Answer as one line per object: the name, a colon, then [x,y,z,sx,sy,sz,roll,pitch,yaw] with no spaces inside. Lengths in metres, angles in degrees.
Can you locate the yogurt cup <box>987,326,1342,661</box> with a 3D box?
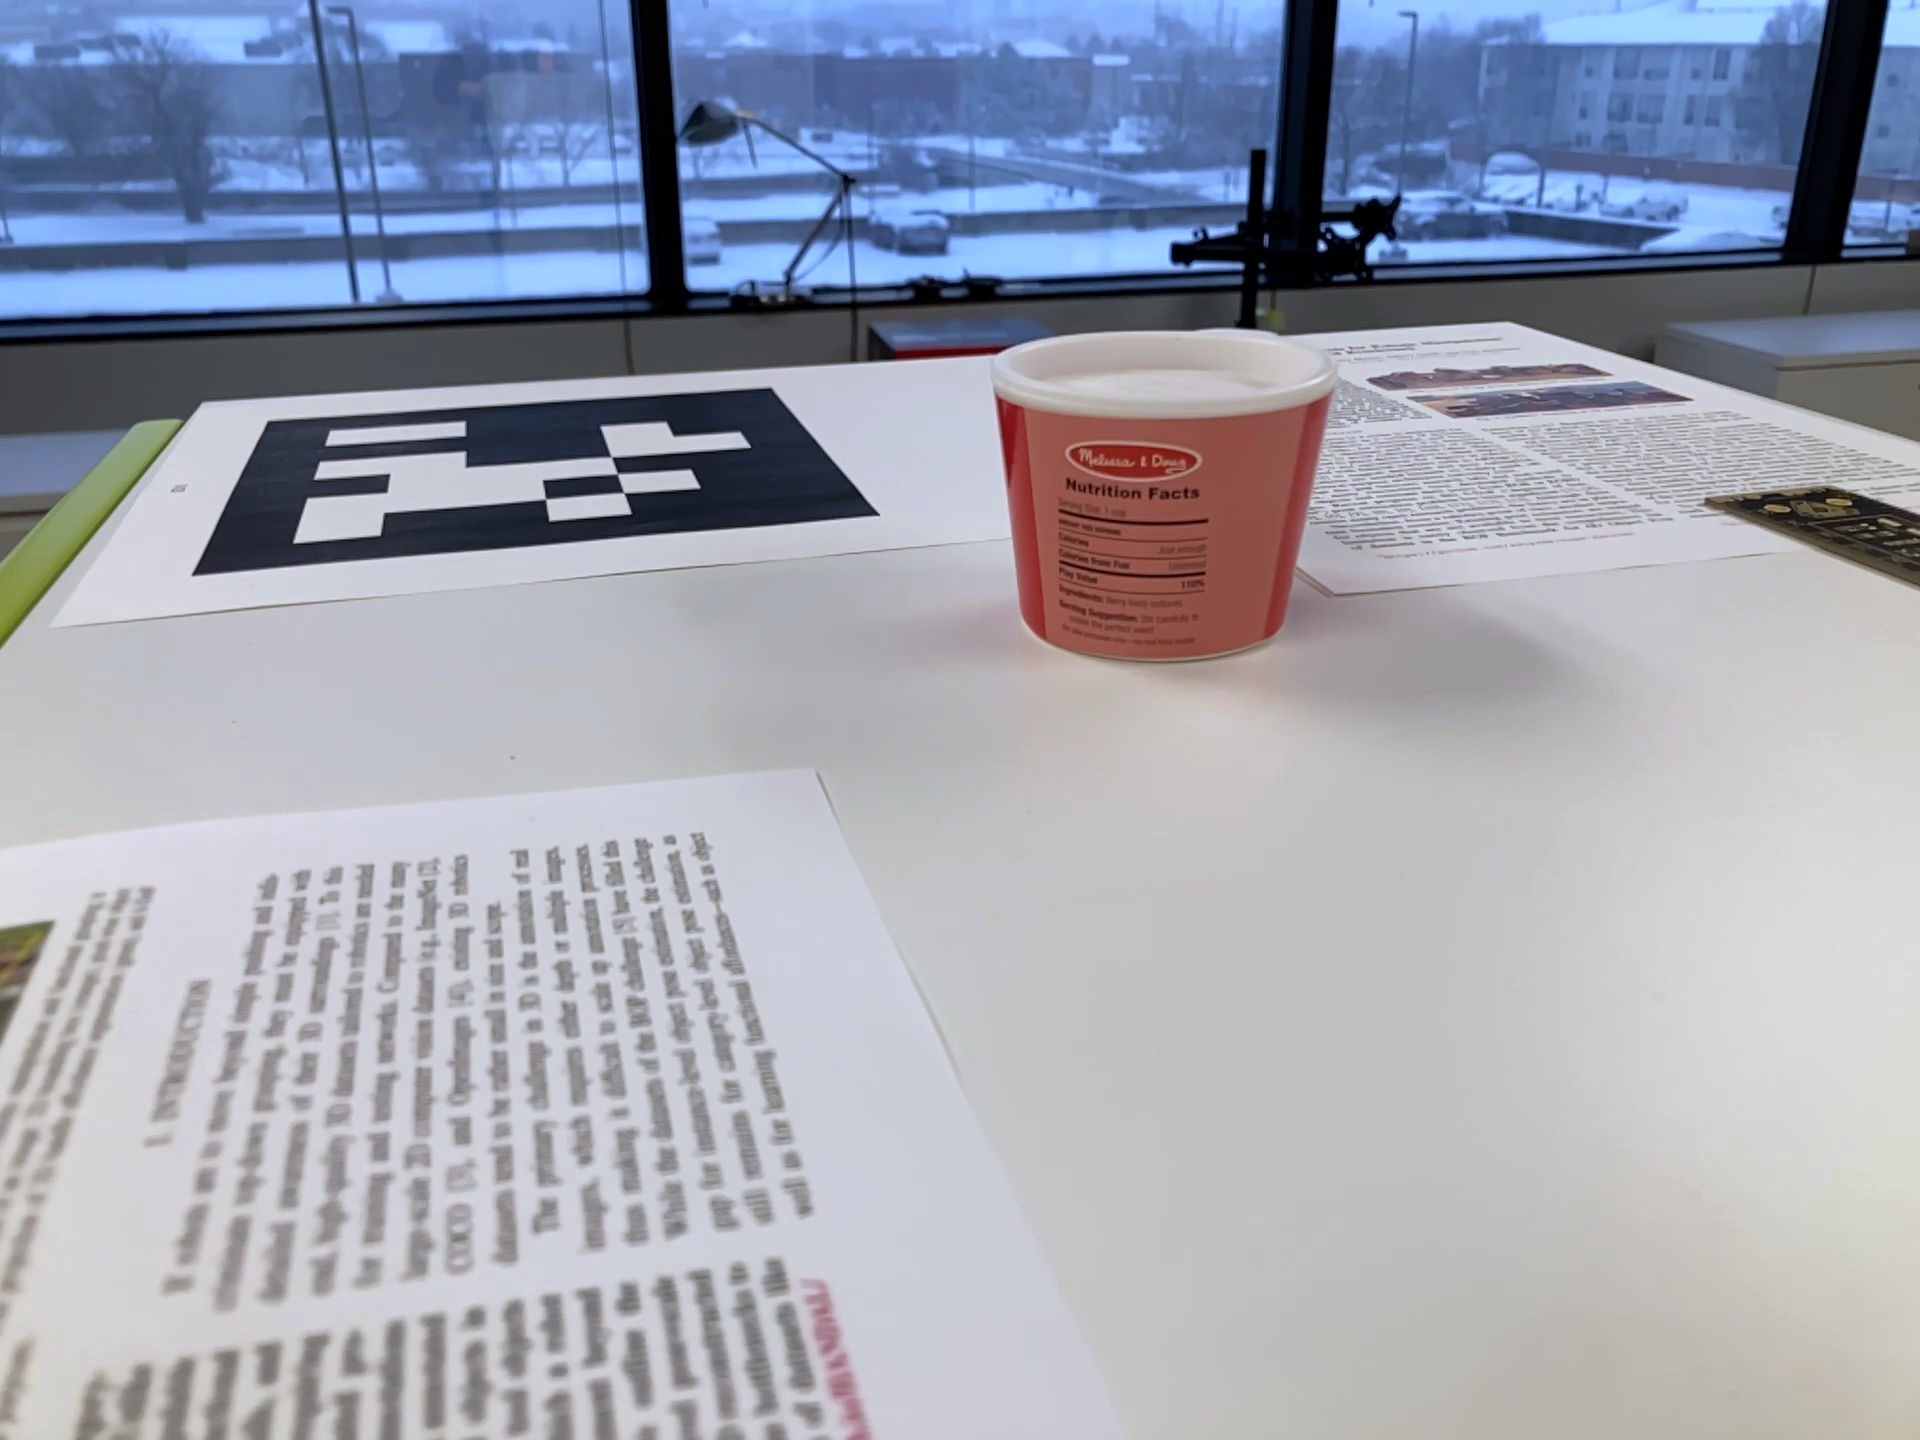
yogurt cup: [0.040,-0.046,0.317,0.072,0.054,0.072,-1,24,1]
